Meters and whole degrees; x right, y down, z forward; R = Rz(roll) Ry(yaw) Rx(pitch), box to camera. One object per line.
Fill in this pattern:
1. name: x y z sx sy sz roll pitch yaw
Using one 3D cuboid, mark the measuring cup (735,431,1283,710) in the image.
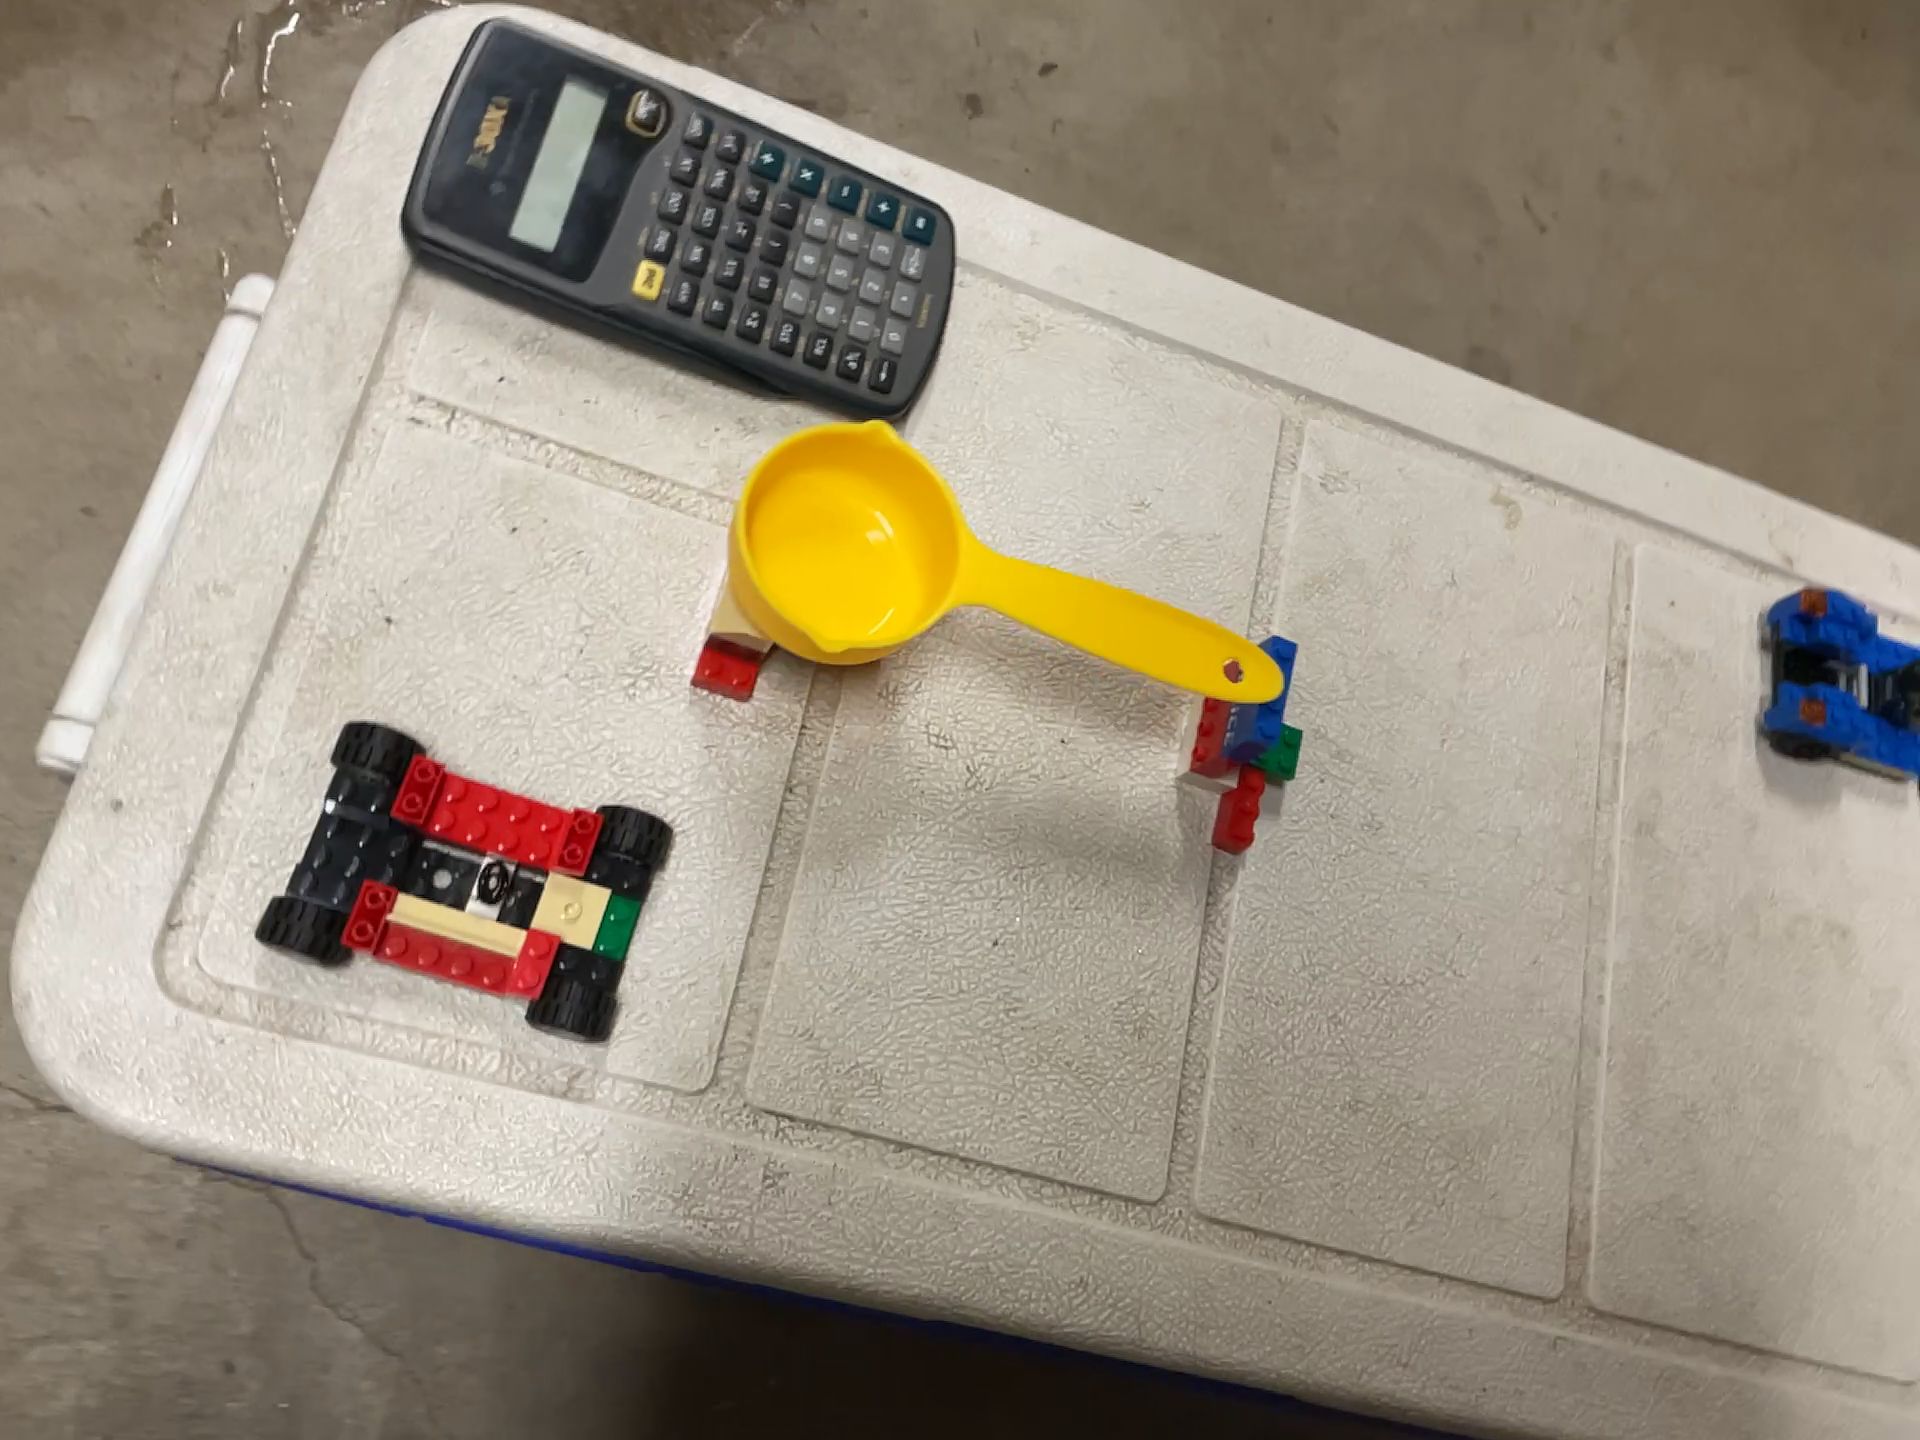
1. measuring cup: 0.014 -0.028 0.430 0.156 0.029 0.062 18 70 -17
